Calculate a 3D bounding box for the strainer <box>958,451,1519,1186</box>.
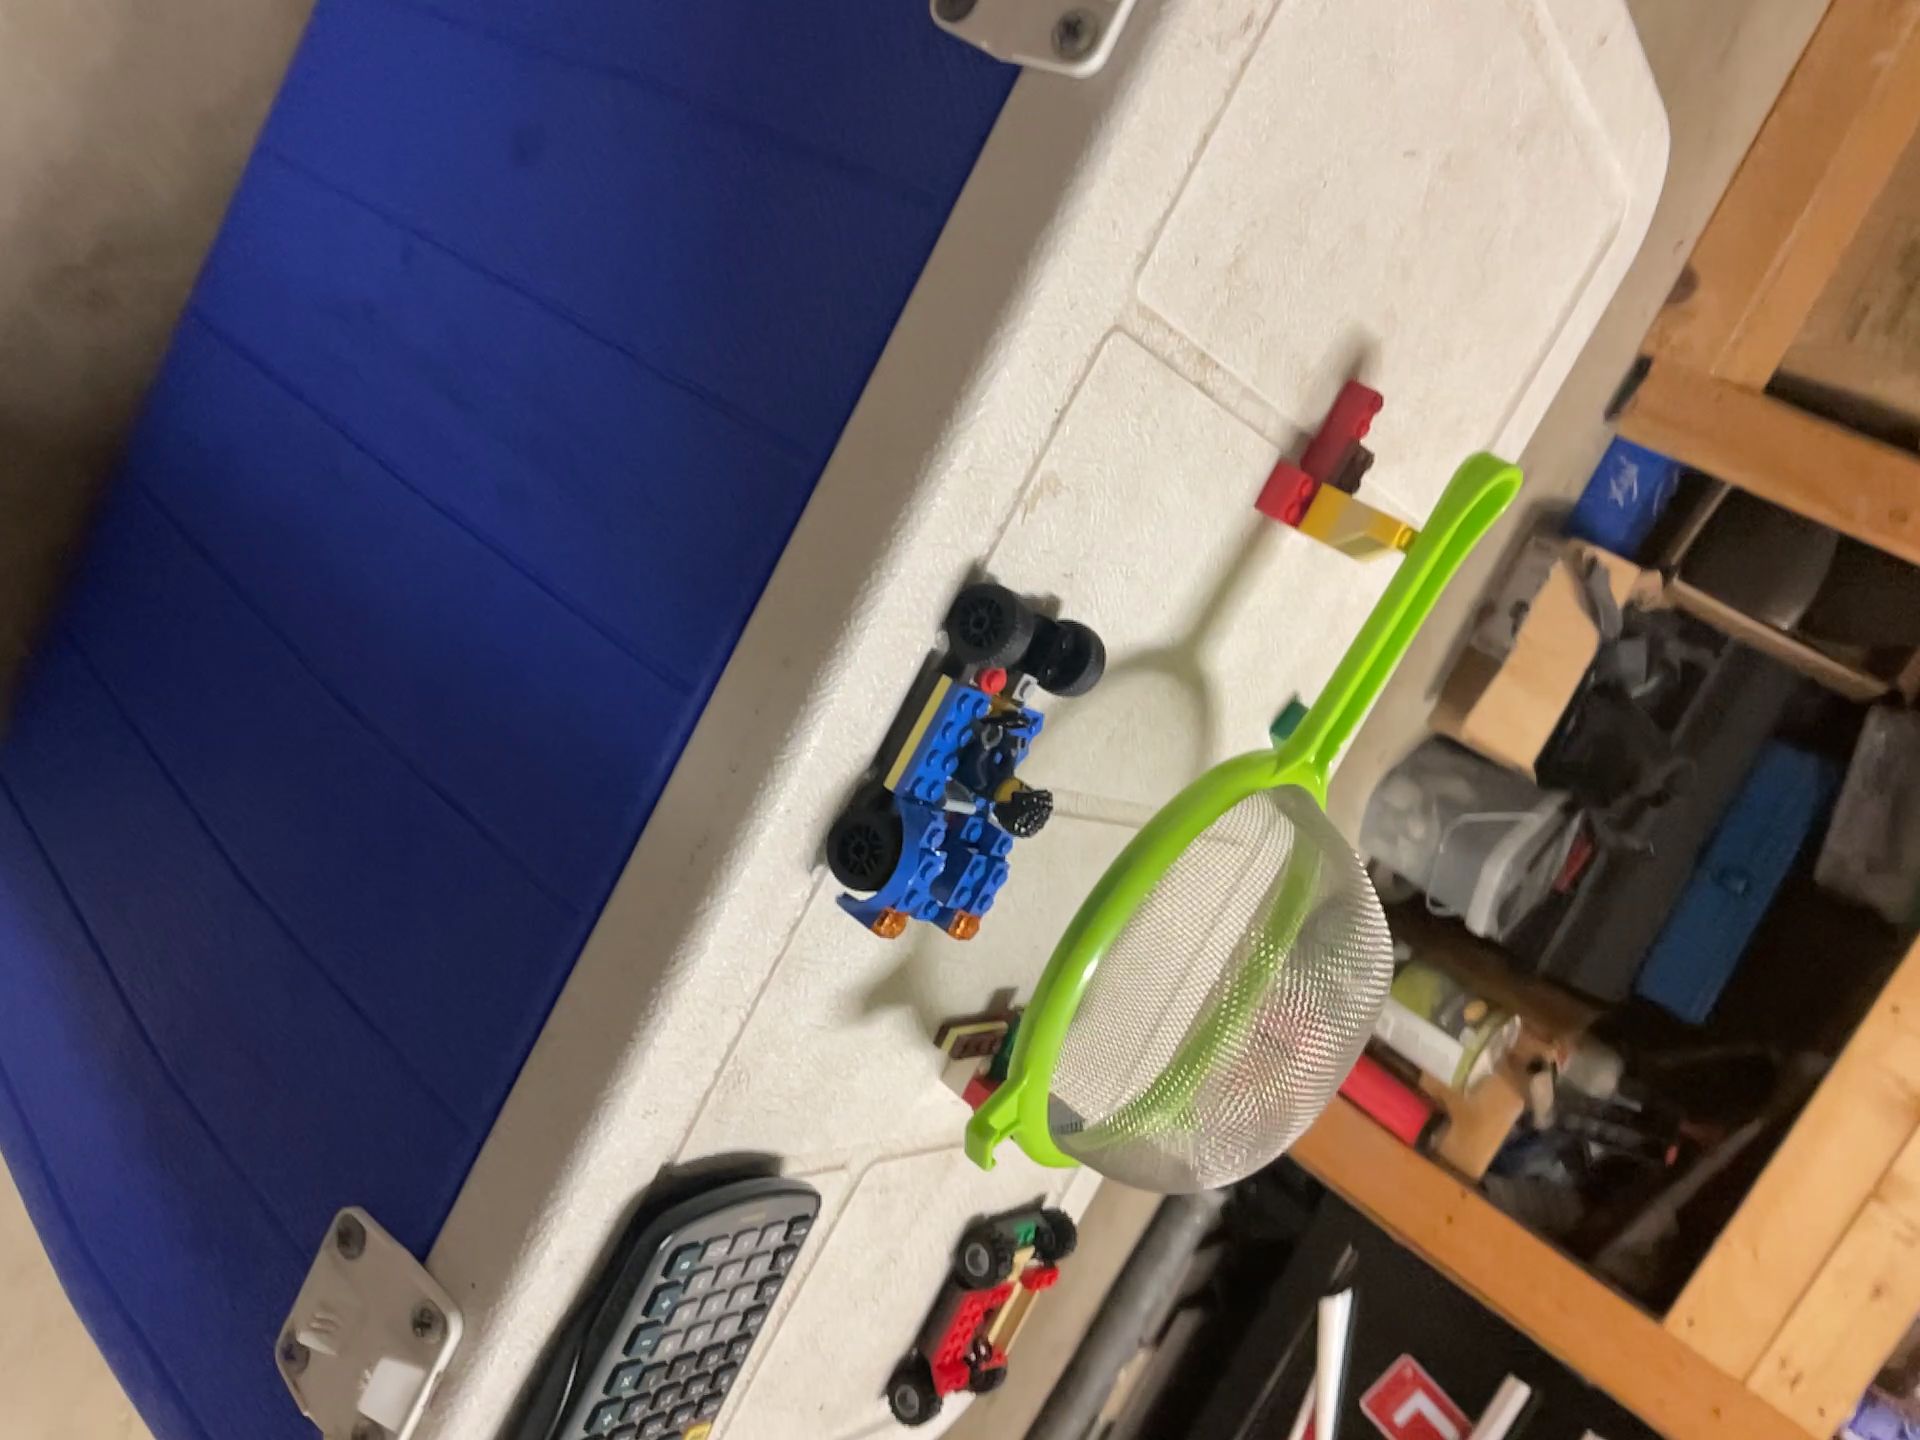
[{"bbox_3d":[0.113,0.043,0.482,0.151,0.069,0.256,20,103,-56],"label":"strainer"}]
